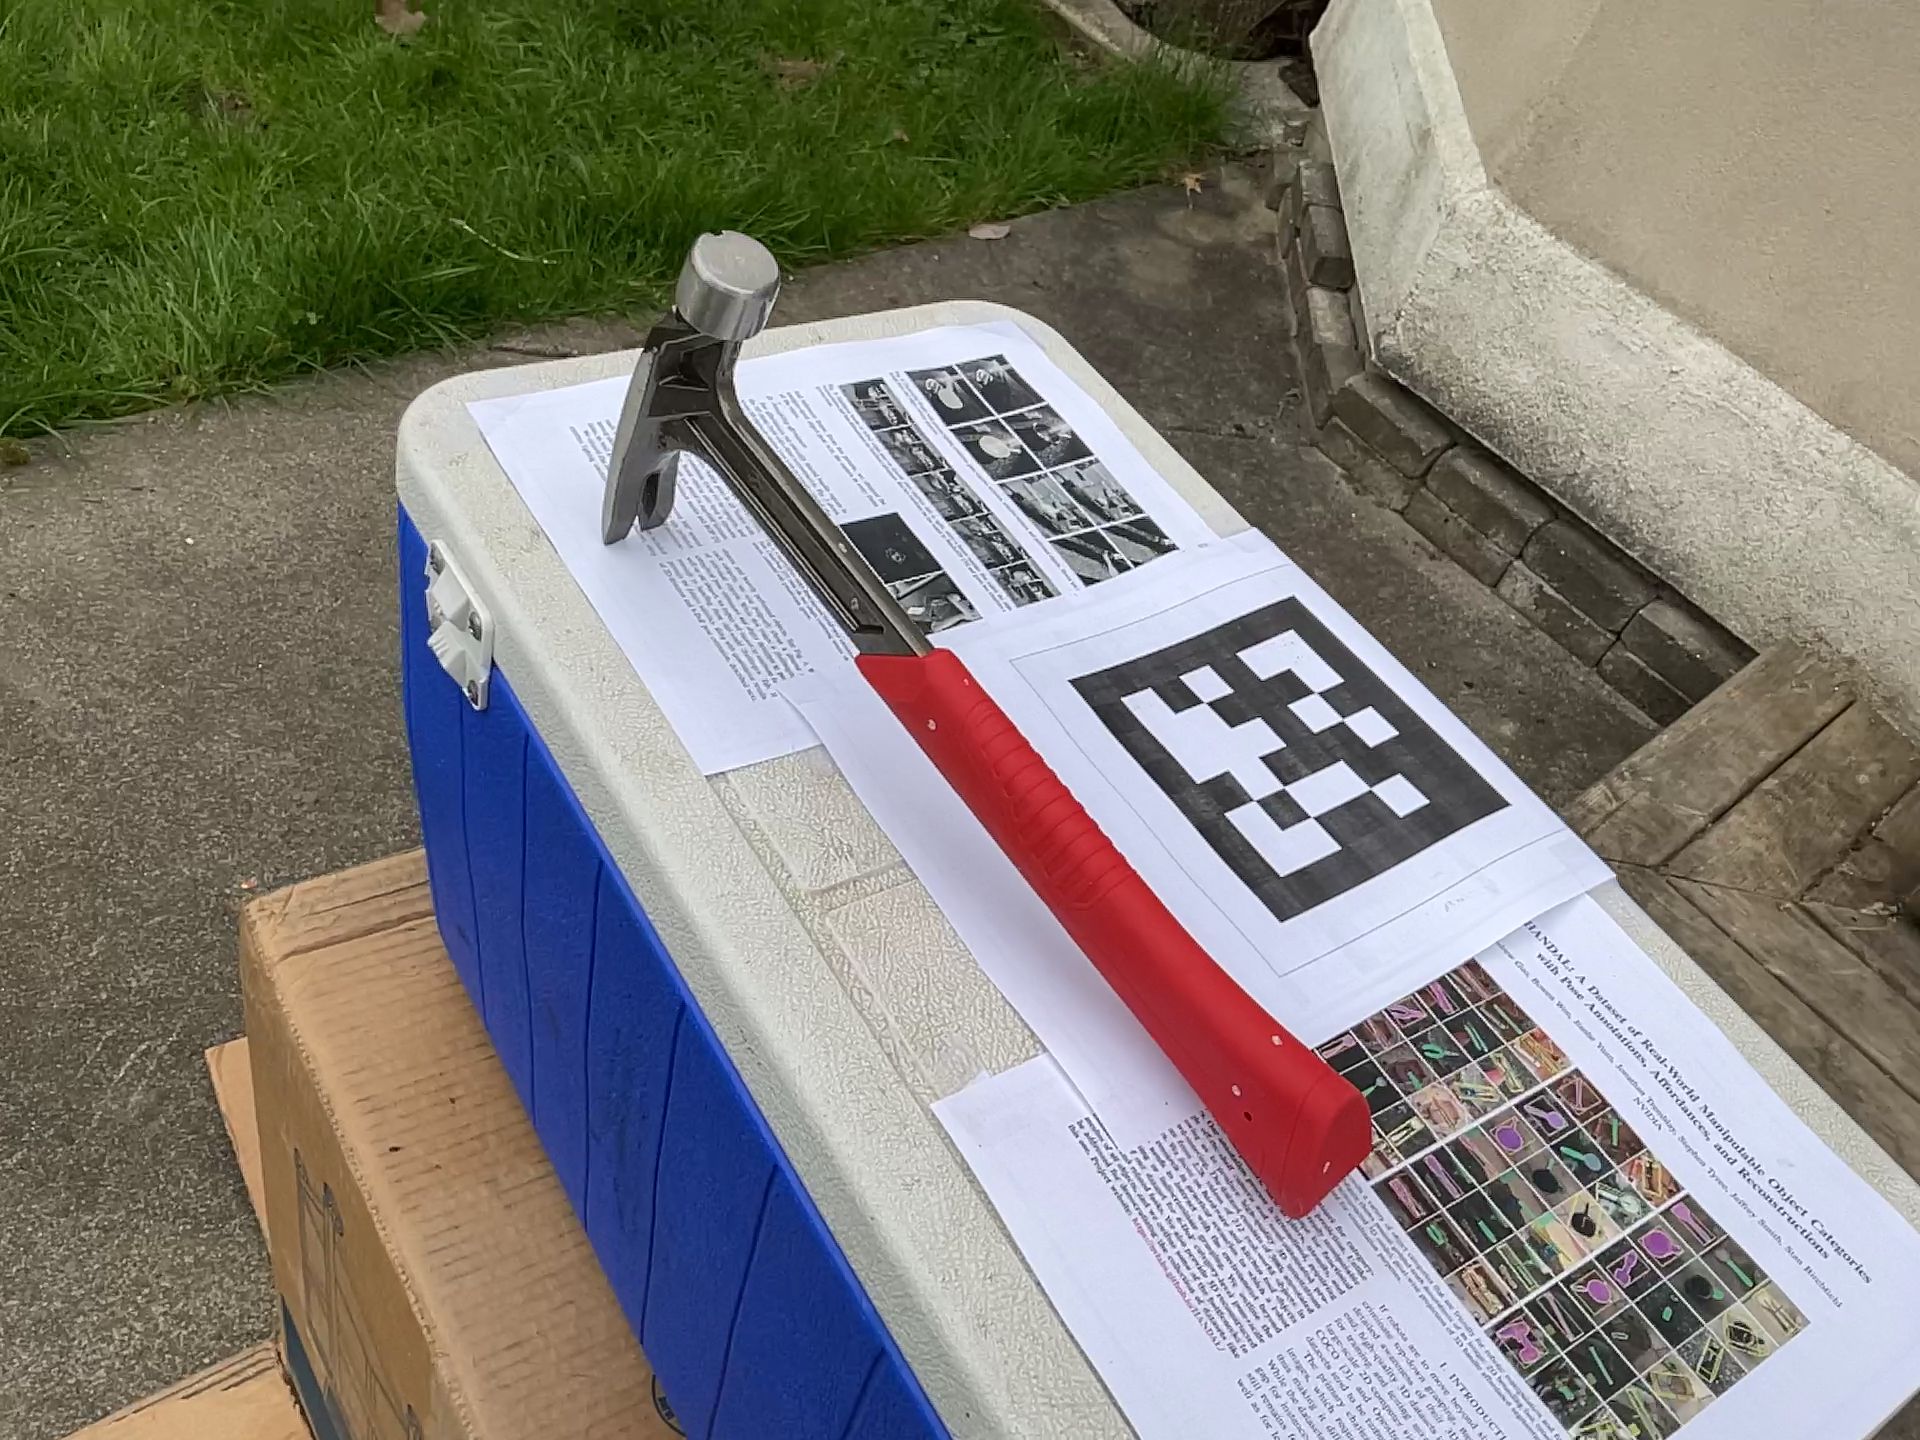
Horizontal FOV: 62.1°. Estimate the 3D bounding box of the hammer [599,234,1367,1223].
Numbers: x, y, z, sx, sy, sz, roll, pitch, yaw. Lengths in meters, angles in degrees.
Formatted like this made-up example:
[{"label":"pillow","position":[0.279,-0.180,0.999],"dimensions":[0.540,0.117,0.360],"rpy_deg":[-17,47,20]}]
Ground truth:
[{"label":"hammer","position":[-0.002,0.012,0.535],"dimensions":[0.036,0.149,0.359],"rpy_deg":[-28,72,-37]}]
